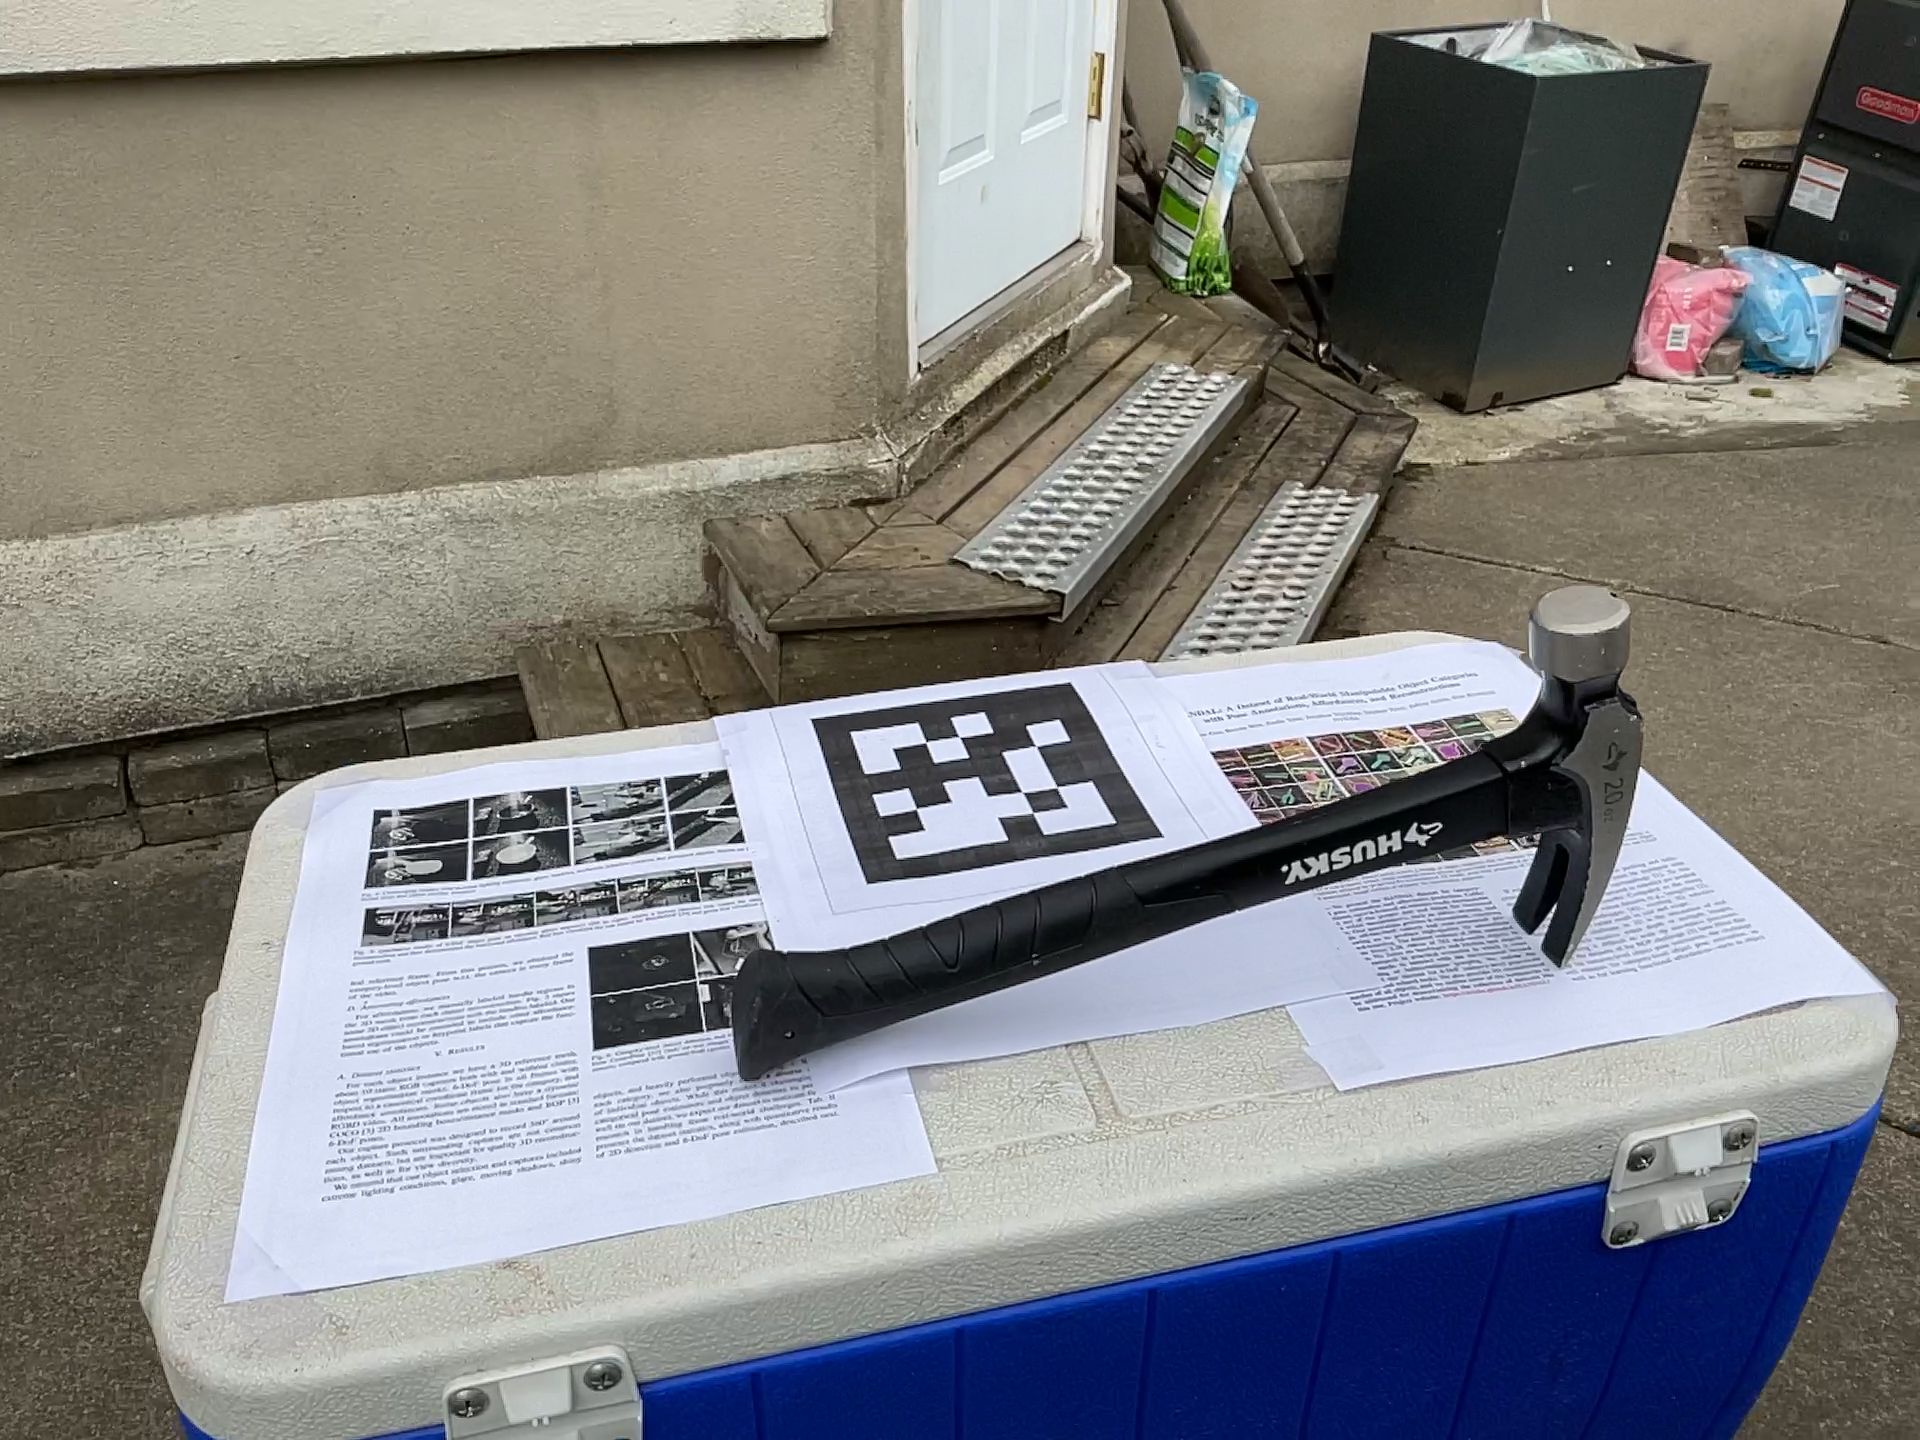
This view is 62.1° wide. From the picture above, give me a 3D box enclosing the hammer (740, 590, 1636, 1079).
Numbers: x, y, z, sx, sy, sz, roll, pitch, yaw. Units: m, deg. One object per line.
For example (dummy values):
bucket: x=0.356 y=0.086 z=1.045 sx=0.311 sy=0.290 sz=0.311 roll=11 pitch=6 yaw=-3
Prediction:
hammer: x=0.082 y=0.065 z=0.574 sx=0.335 sy=0.146 sz=0.035 roll=-17 pitch=32 yaw=-5
